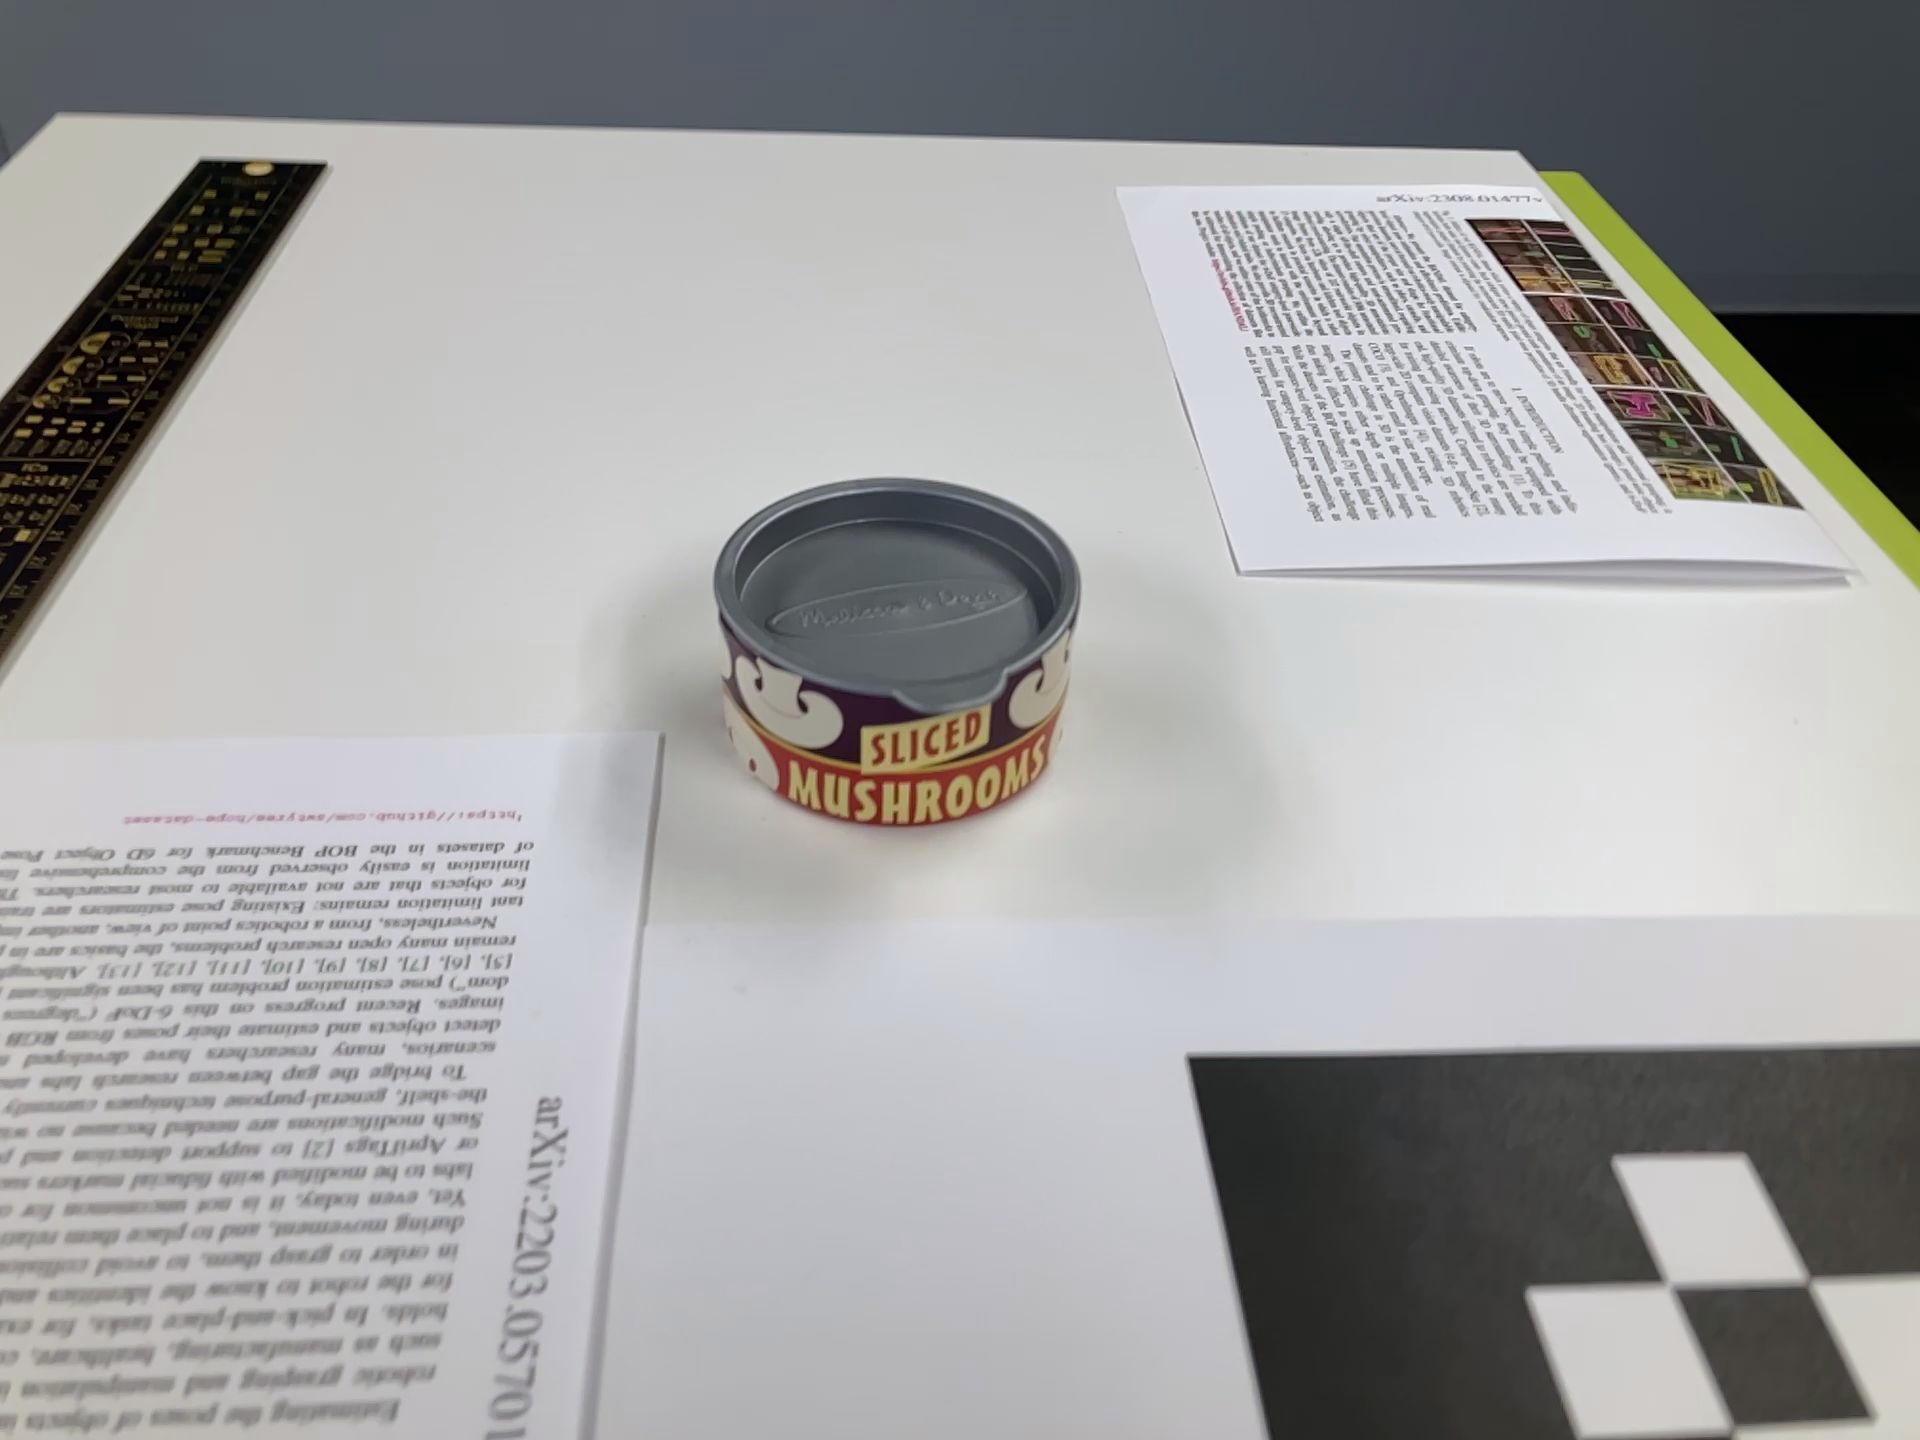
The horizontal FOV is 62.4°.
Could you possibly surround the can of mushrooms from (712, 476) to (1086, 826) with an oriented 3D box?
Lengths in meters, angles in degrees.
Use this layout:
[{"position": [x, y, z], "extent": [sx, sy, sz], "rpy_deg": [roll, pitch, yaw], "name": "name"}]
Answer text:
[{"position": [-0.011, -0.013, 0.289], "extent": [0.071, 0.033, 0.071], "rpy_deg": [3, 39, -2], "name": "can of mushrooms"}]
